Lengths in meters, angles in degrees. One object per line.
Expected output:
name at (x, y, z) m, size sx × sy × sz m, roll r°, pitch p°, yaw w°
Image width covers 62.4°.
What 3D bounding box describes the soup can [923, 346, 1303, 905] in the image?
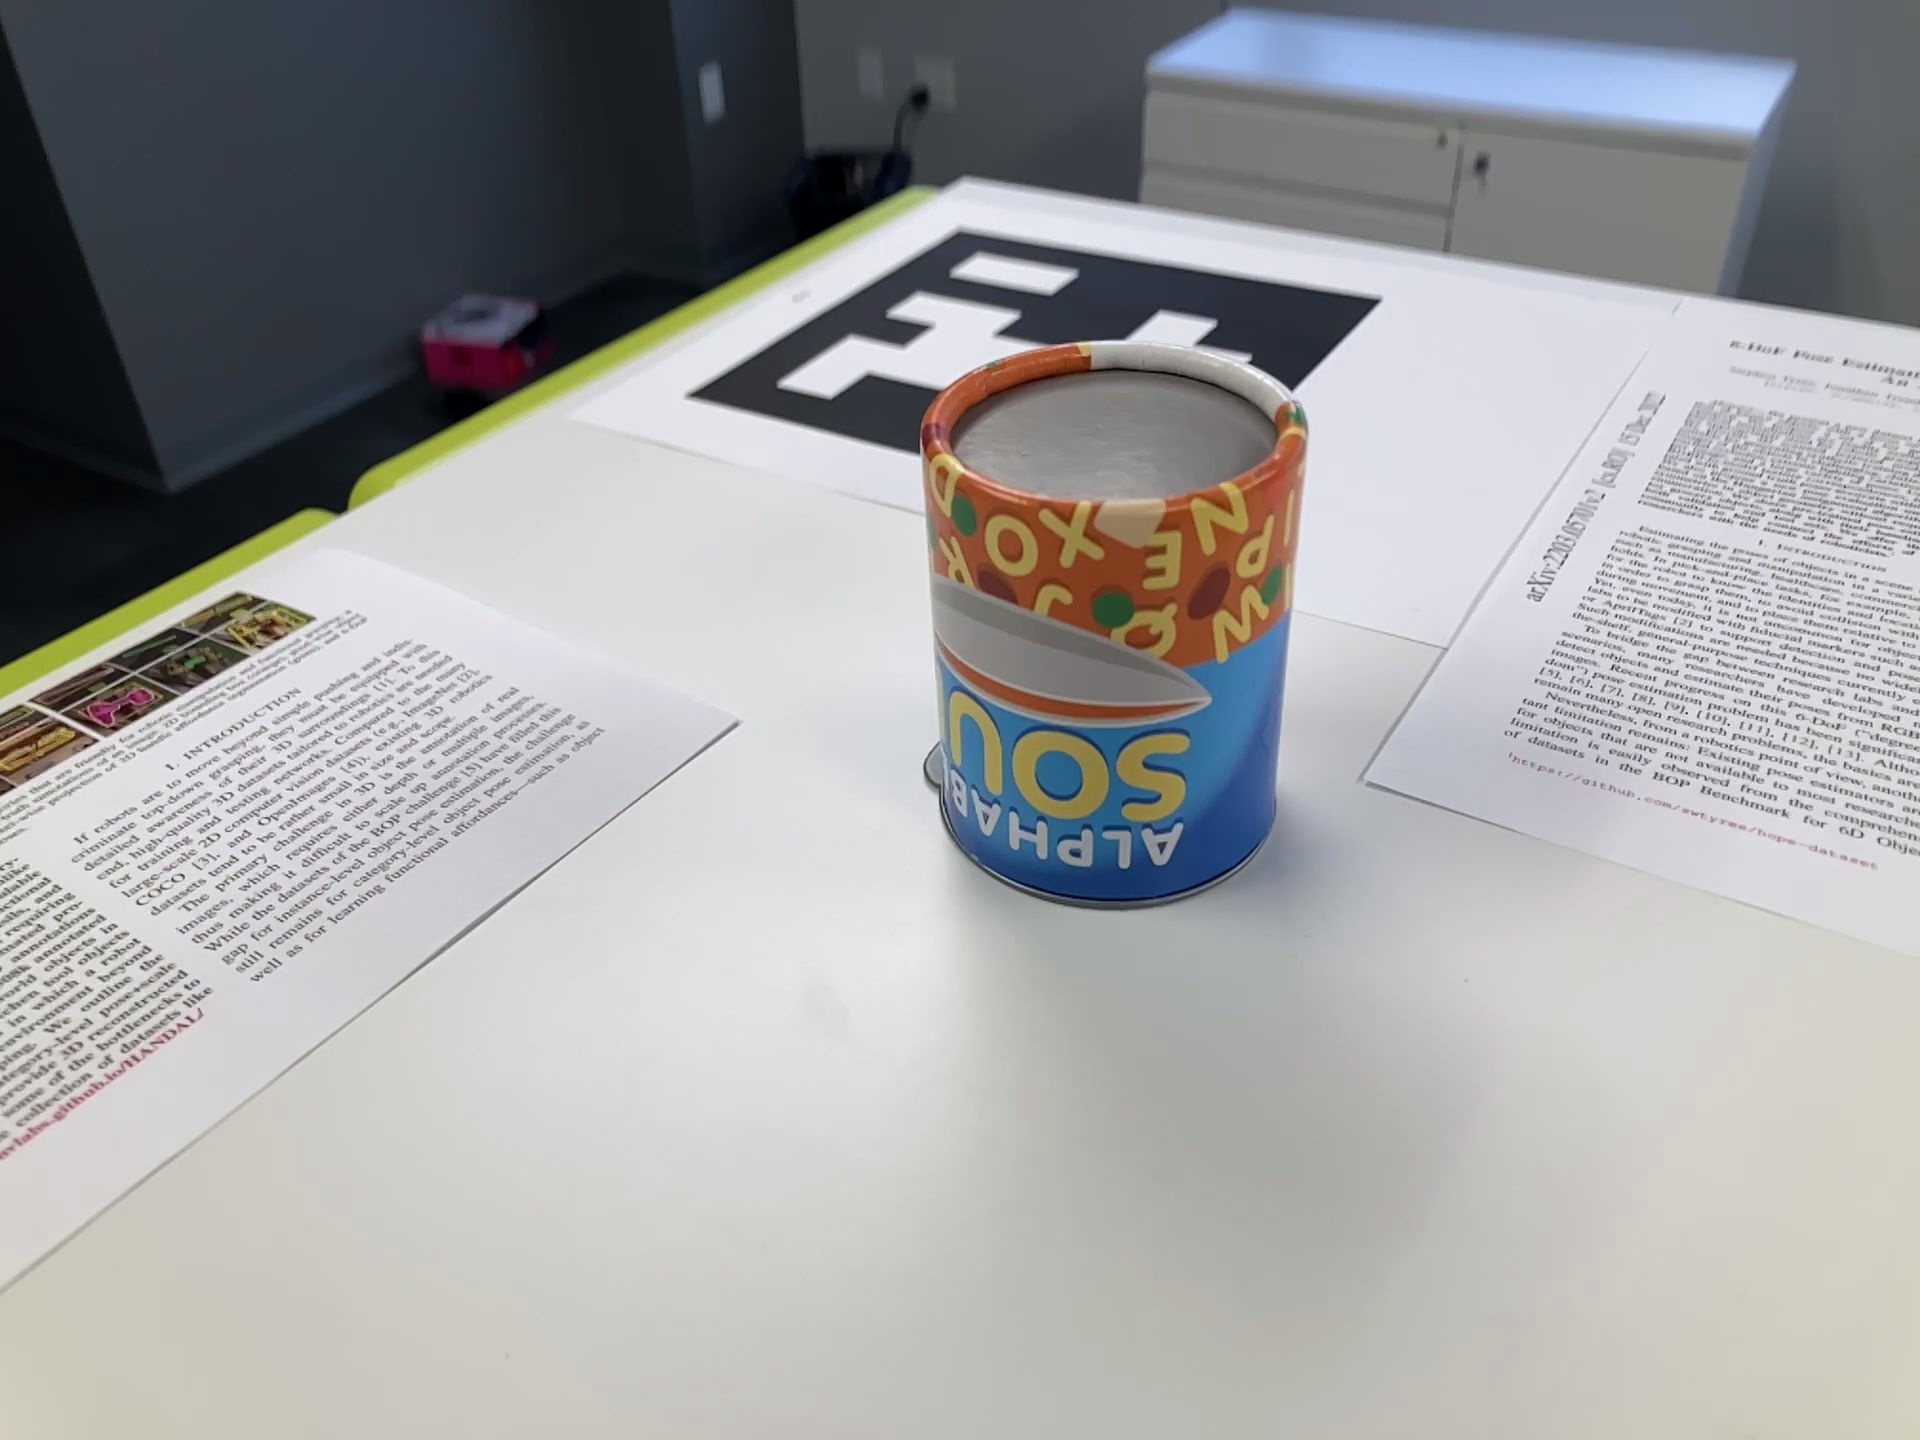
soup can at (0.026, -0.017, 0.295) m, size 0.071 × 0.084 × 0.071 m, roll -3°, pitch 36°, yaw 2°
